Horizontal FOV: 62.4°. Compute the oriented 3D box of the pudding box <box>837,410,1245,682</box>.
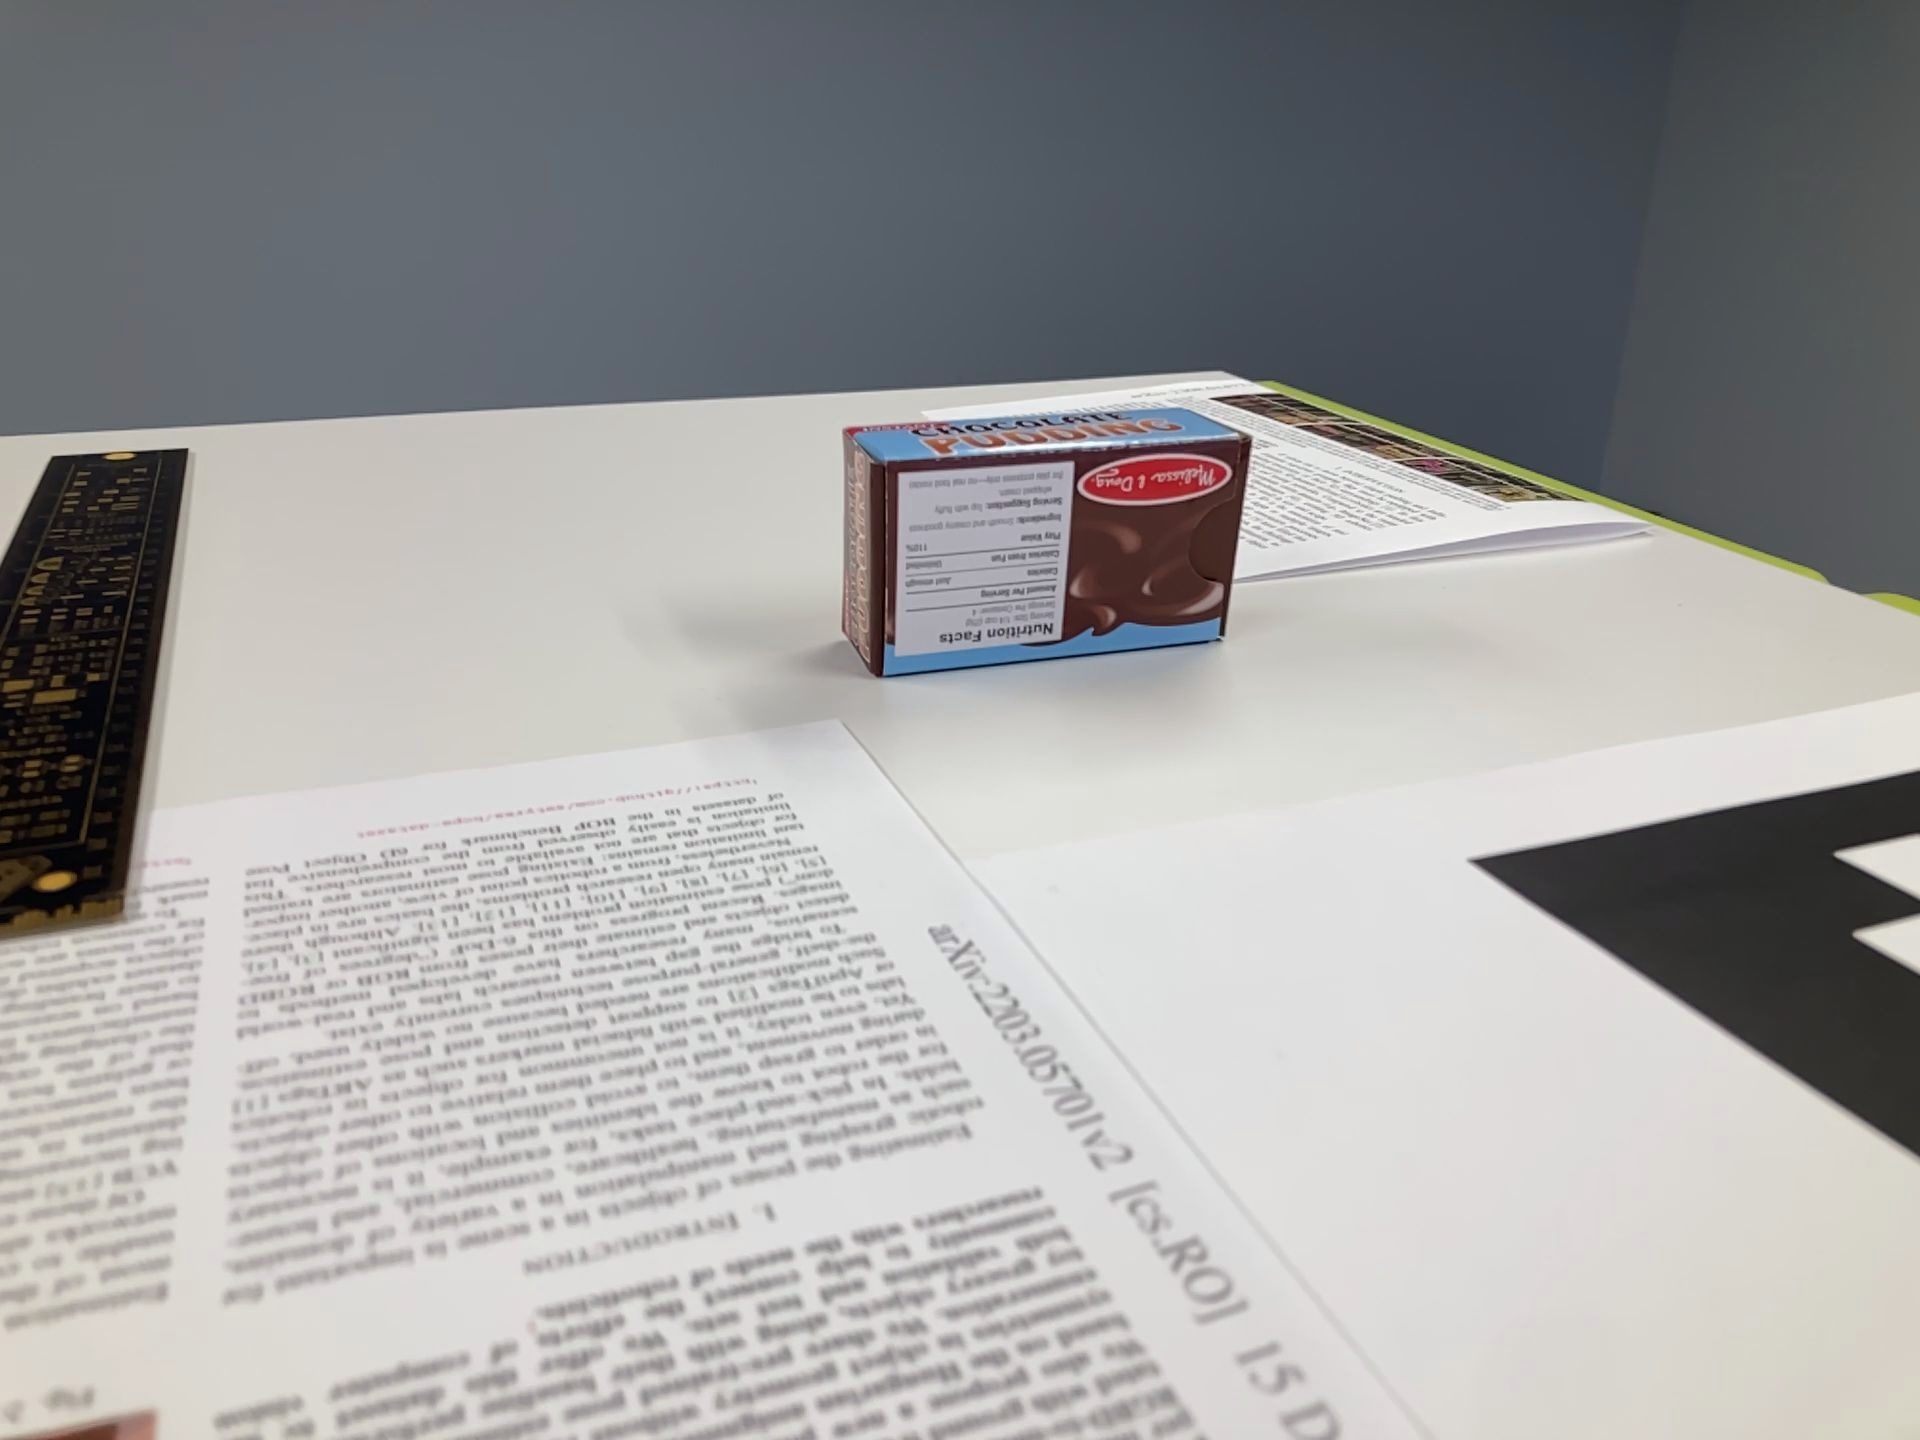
[{"bbox_3d":[0.017,-0.039,0.346,0.083,0.049,0.030,-7,26,-19],"label":"pudding box"}]
